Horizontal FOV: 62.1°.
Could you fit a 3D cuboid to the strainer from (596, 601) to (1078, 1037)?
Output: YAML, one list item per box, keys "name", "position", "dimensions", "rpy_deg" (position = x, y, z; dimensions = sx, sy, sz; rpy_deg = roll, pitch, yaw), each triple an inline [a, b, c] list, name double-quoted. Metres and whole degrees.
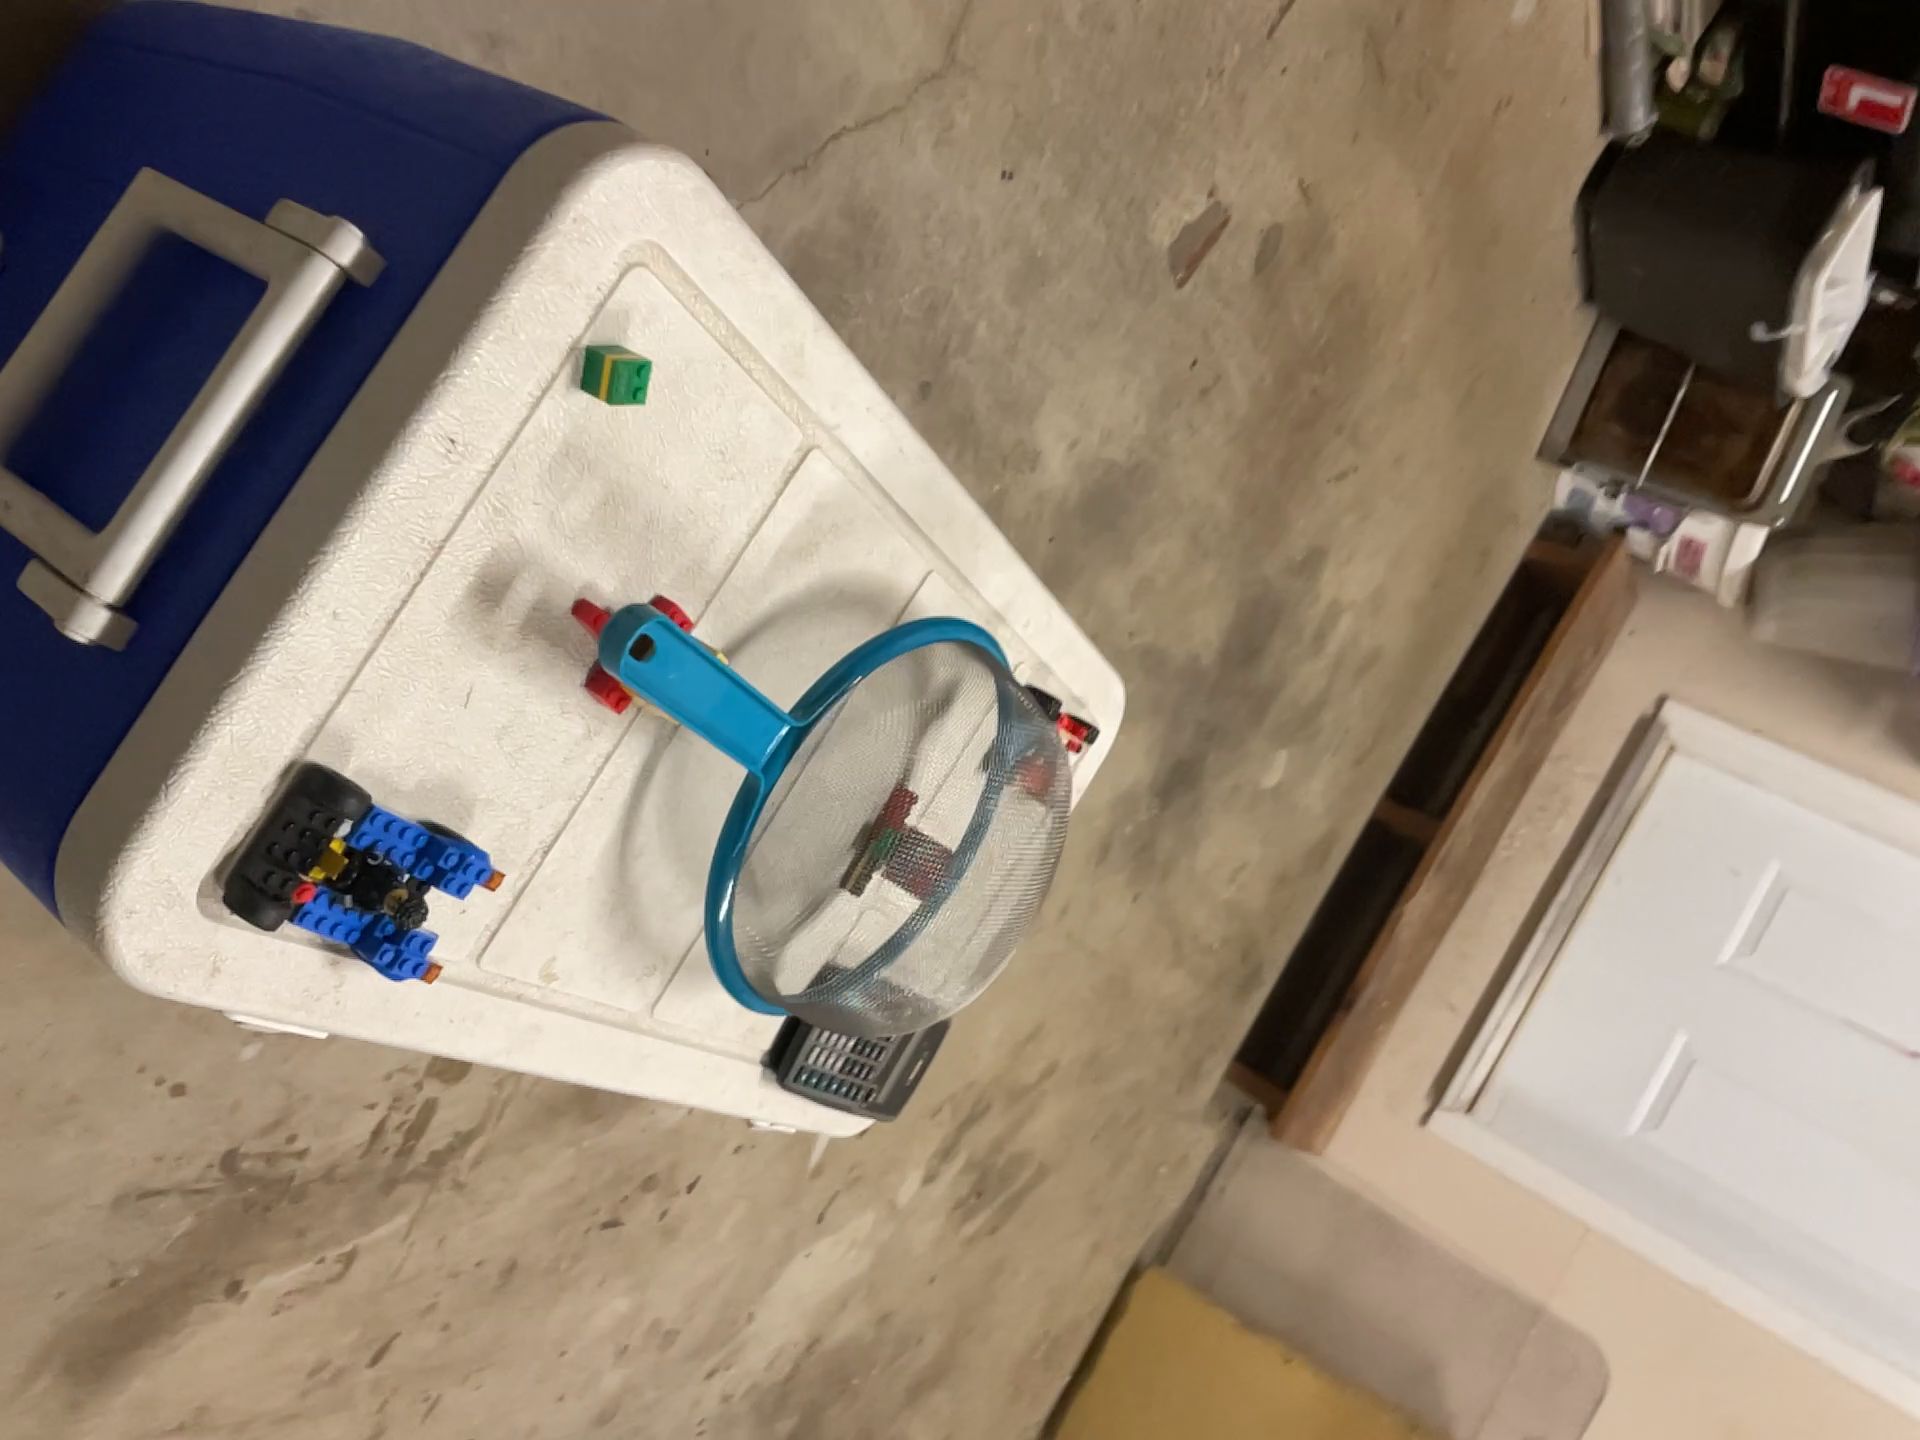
- name: "strainer"
  position: [-0.032, 0.041, 0.679]
  dimensions: [0.211, 0.095, 0.340]
  rpy_deg: [-57, 152, -7]
